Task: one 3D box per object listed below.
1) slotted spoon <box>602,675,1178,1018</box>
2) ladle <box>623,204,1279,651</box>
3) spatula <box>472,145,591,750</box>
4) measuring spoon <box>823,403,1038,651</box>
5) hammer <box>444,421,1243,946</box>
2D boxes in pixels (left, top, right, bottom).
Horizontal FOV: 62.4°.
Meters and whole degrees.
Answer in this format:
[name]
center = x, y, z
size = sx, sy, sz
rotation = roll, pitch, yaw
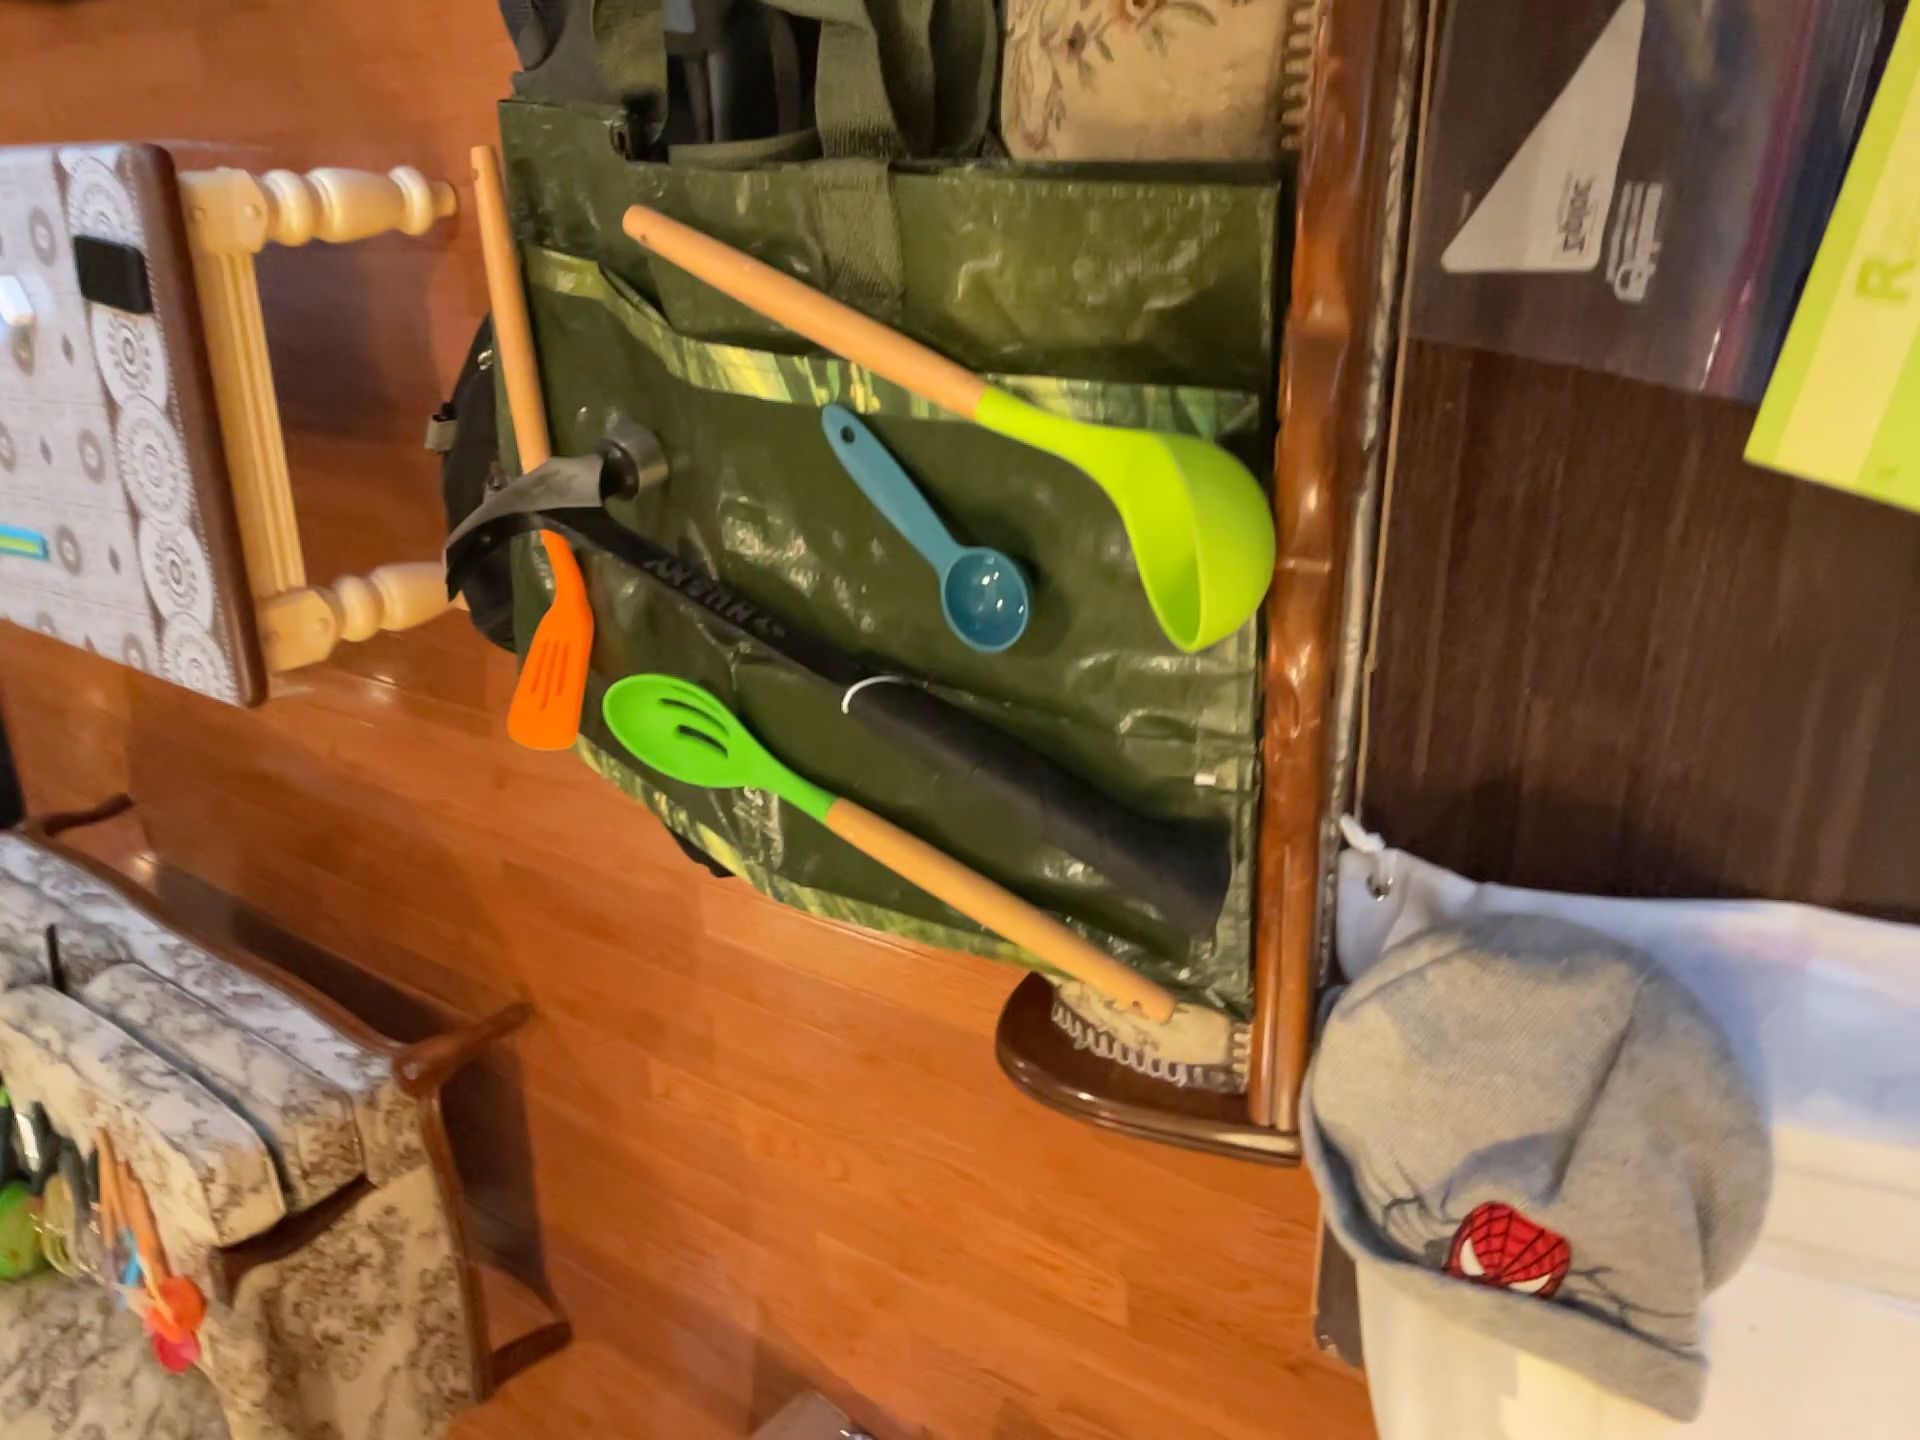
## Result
[slotted spoon]
center = -0.038, 0.056, 0.743
size = 0.314, 0.031, 0.070
rotation = 28, 138, 19
[ladle]
center = -0.018, -0.126, 0.610
size = 0.320, 0.062, 0.078
rotation = 31, 150, 20
[spatula]
center = -0.241, -0.145, 0.867
size = 0.081, 0.041, 0.322
rotation = 6, 107, 48
[measuring spoon]
center = -0.011, -0.083, 0.648
size = 0.129, 0.021, 0.042
rotation = 51, 129, 12
[hammer]
center = -0.054, -0.018, 0.709
size = 0.409, 0.149, 0.036
rotation = 31, 133, 21
